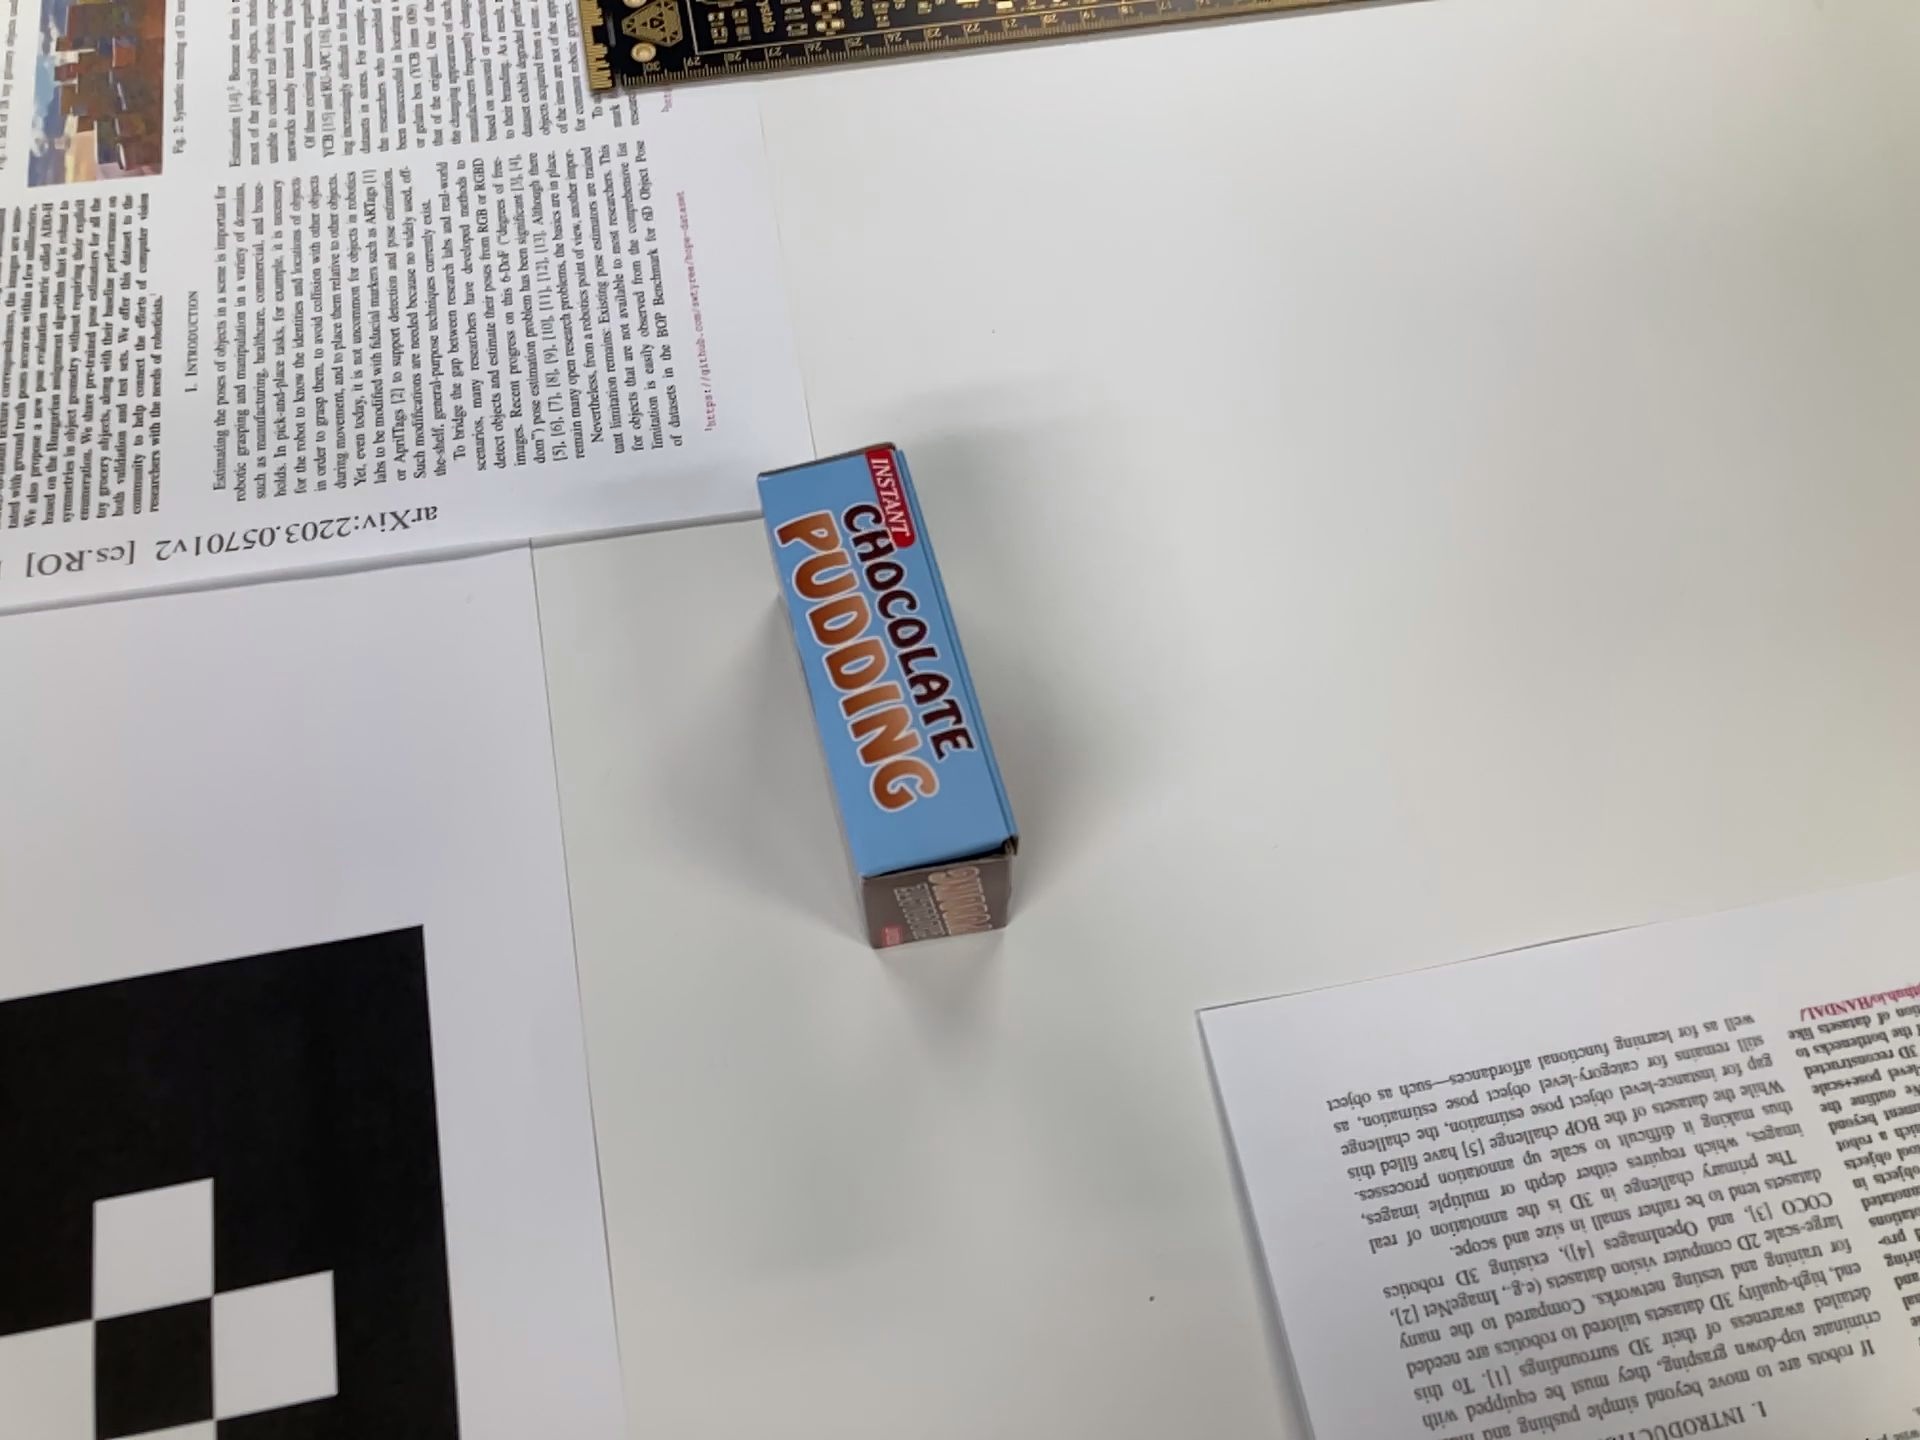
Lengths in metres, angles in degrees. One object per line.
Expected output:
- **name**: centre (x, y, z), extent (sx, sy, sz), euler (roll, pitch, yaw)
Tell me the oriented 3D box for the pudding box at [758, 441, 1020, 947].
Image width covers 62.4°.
- **pudding box**: centre (-0.014, -0.004, 0.302), extent (0.030, 0.049, 0.083), euler (-14, 69, -6)
